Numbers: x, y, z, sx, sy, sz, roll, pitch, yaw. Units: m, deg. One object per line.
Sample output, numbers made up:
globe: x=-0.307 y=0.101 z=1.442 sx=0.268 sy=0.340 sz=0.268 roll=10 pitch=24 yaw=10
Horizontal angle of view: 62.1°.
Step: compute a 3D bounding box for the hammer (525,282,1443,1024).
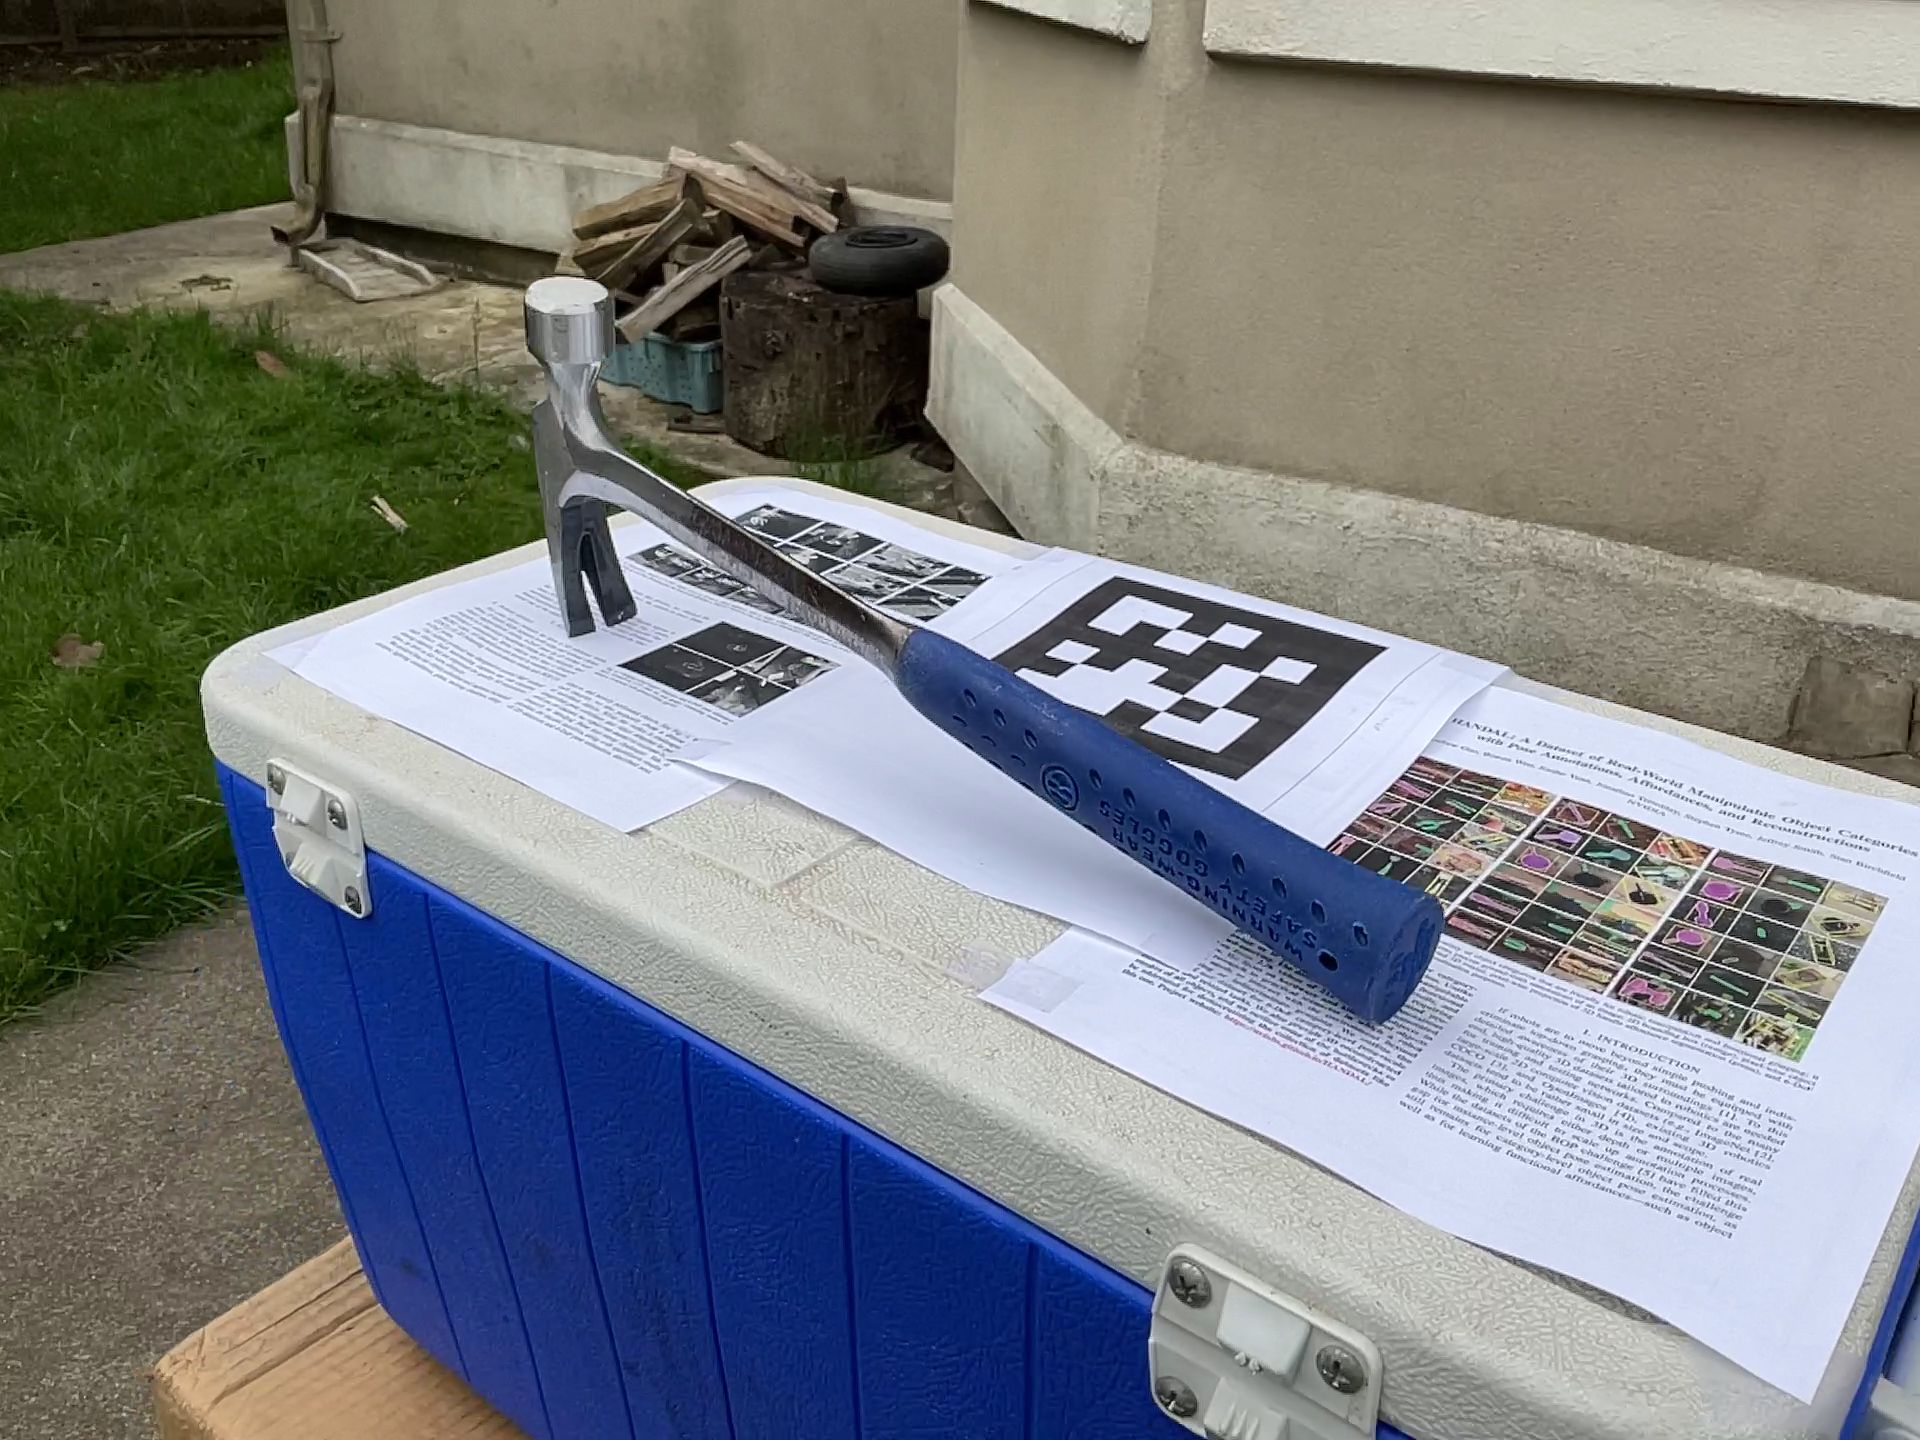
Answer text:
hammer: x=-0.023 y=-0.019 z=0.546 sx=0.406 sy=0.144 sz=0.035 roll=32 pitch=42 yaw=33
